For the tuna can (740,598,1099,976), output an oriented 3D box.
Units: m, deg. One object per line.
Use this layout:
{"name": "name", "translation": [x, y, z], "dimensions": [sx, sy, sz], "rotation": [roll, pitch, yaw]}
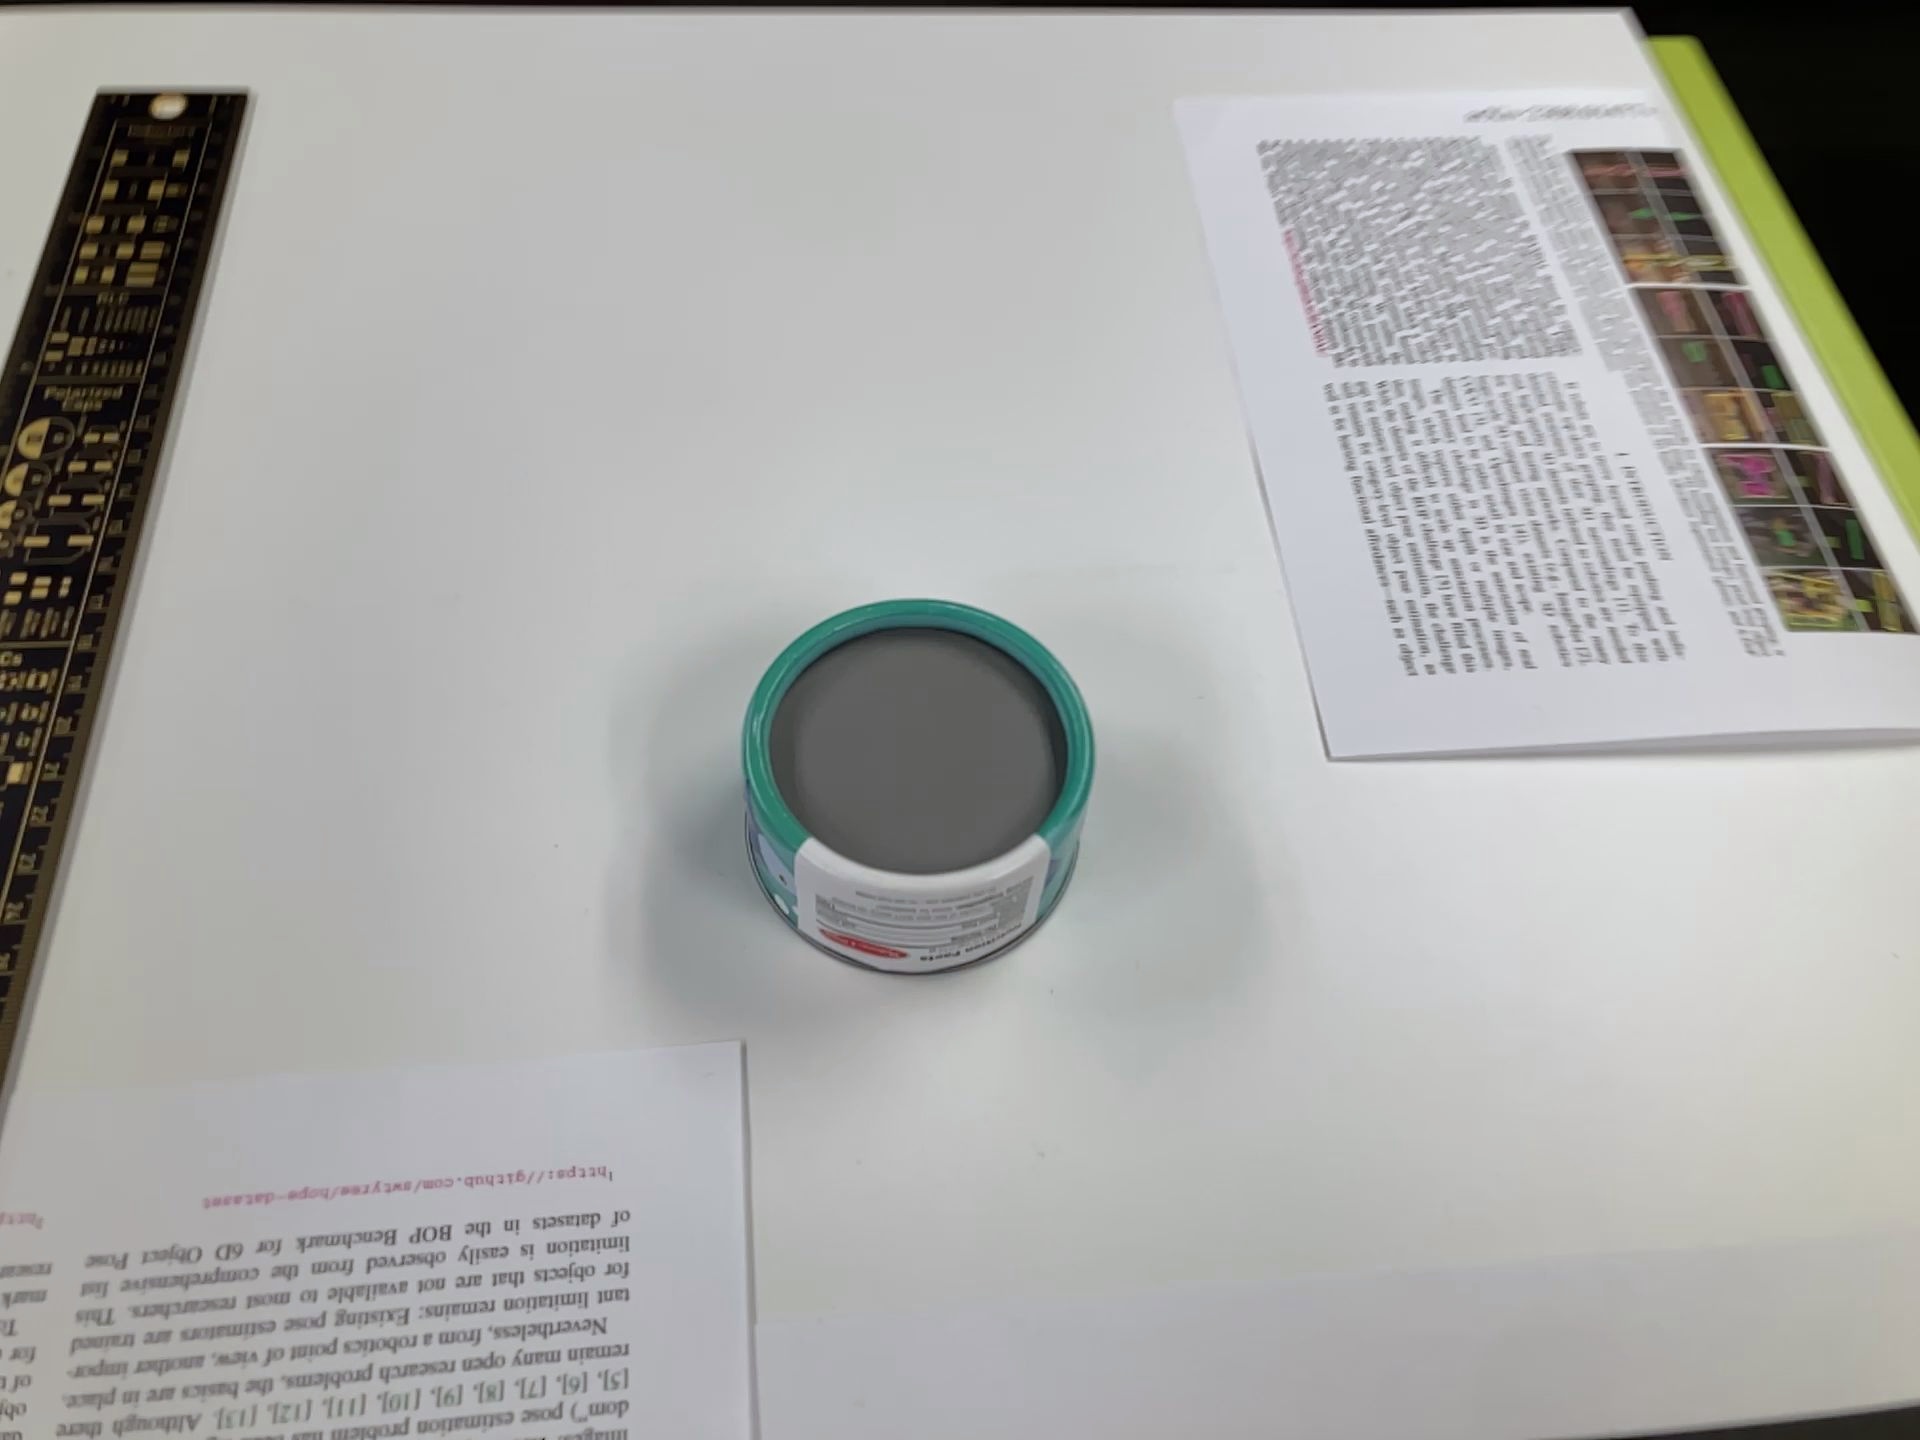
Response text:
{"name": "tuna can", "translation": [-0.008, 0.009, 0.301], "dimensions": [0.071, 0.033, 0.071], "rotation": [3, 56, -4]}
